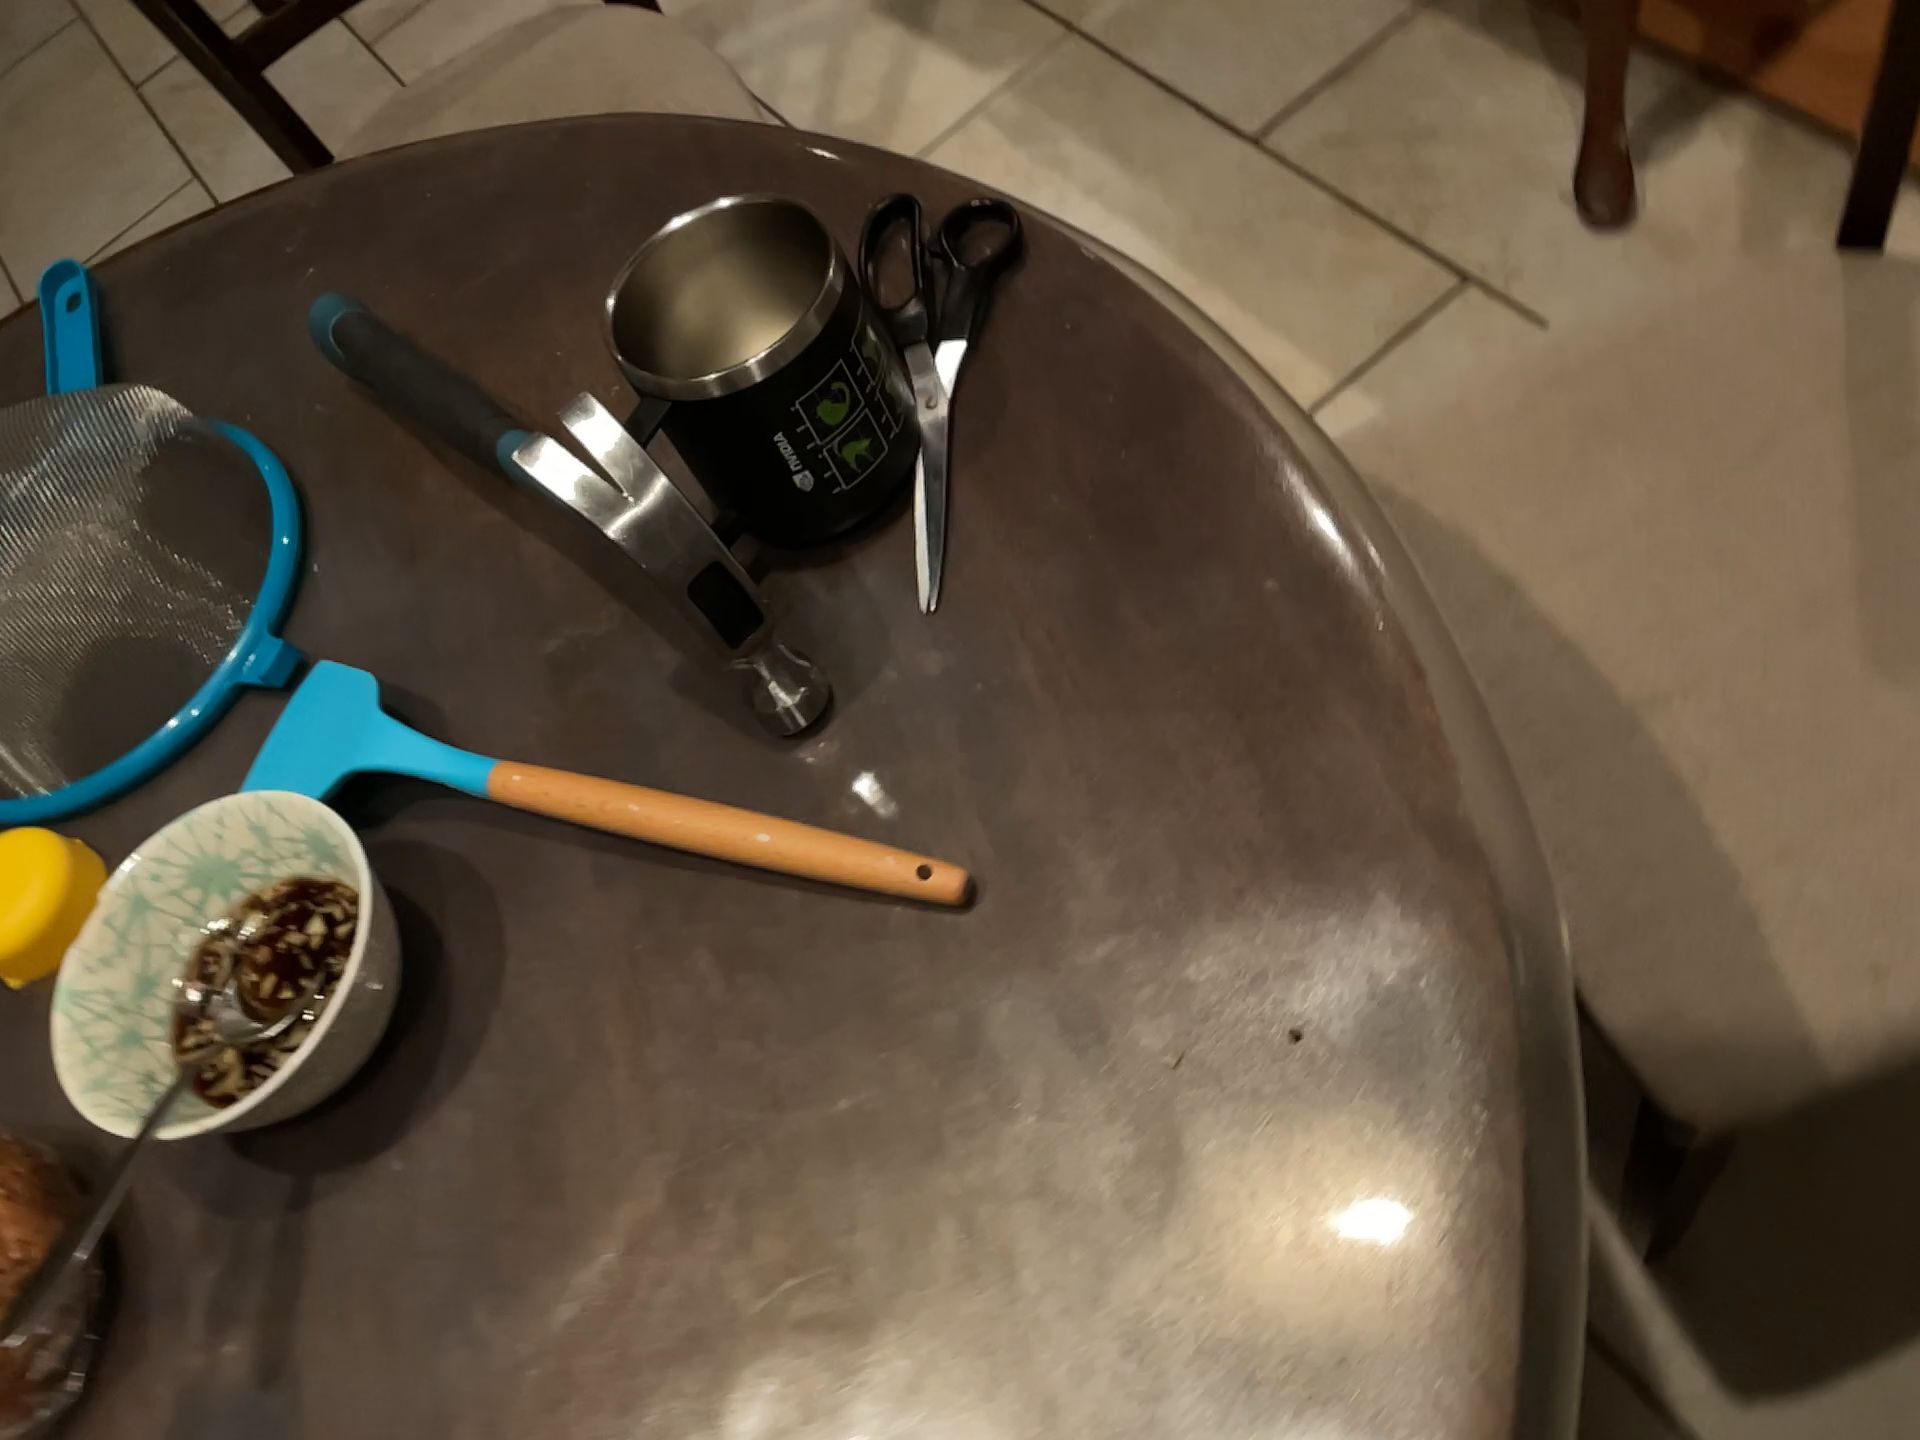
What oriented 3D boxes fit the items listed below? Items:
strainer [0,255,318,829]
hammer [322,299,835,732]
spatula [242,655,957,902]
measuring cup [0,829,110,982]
[{"bbox_3d":[-0.421,-0.117,0.726,0.211,0.095,0.341,-25,61,4],"label":"strainer"},{"bbox_3d":[-0.176,-0.107,0.640,0.033,0.128,0.331,-46,48,-12],"label":"hammer"},{"bbox_3d":[-0.146,0.029,0.591,0.317,0.044,0.082,12,65,20],"label":"spatula"},{"bbox_3d":[-0.421,0.070,0.657,0.156,0.029,0.062,1,62,18],"label":"measuring cup"}]
